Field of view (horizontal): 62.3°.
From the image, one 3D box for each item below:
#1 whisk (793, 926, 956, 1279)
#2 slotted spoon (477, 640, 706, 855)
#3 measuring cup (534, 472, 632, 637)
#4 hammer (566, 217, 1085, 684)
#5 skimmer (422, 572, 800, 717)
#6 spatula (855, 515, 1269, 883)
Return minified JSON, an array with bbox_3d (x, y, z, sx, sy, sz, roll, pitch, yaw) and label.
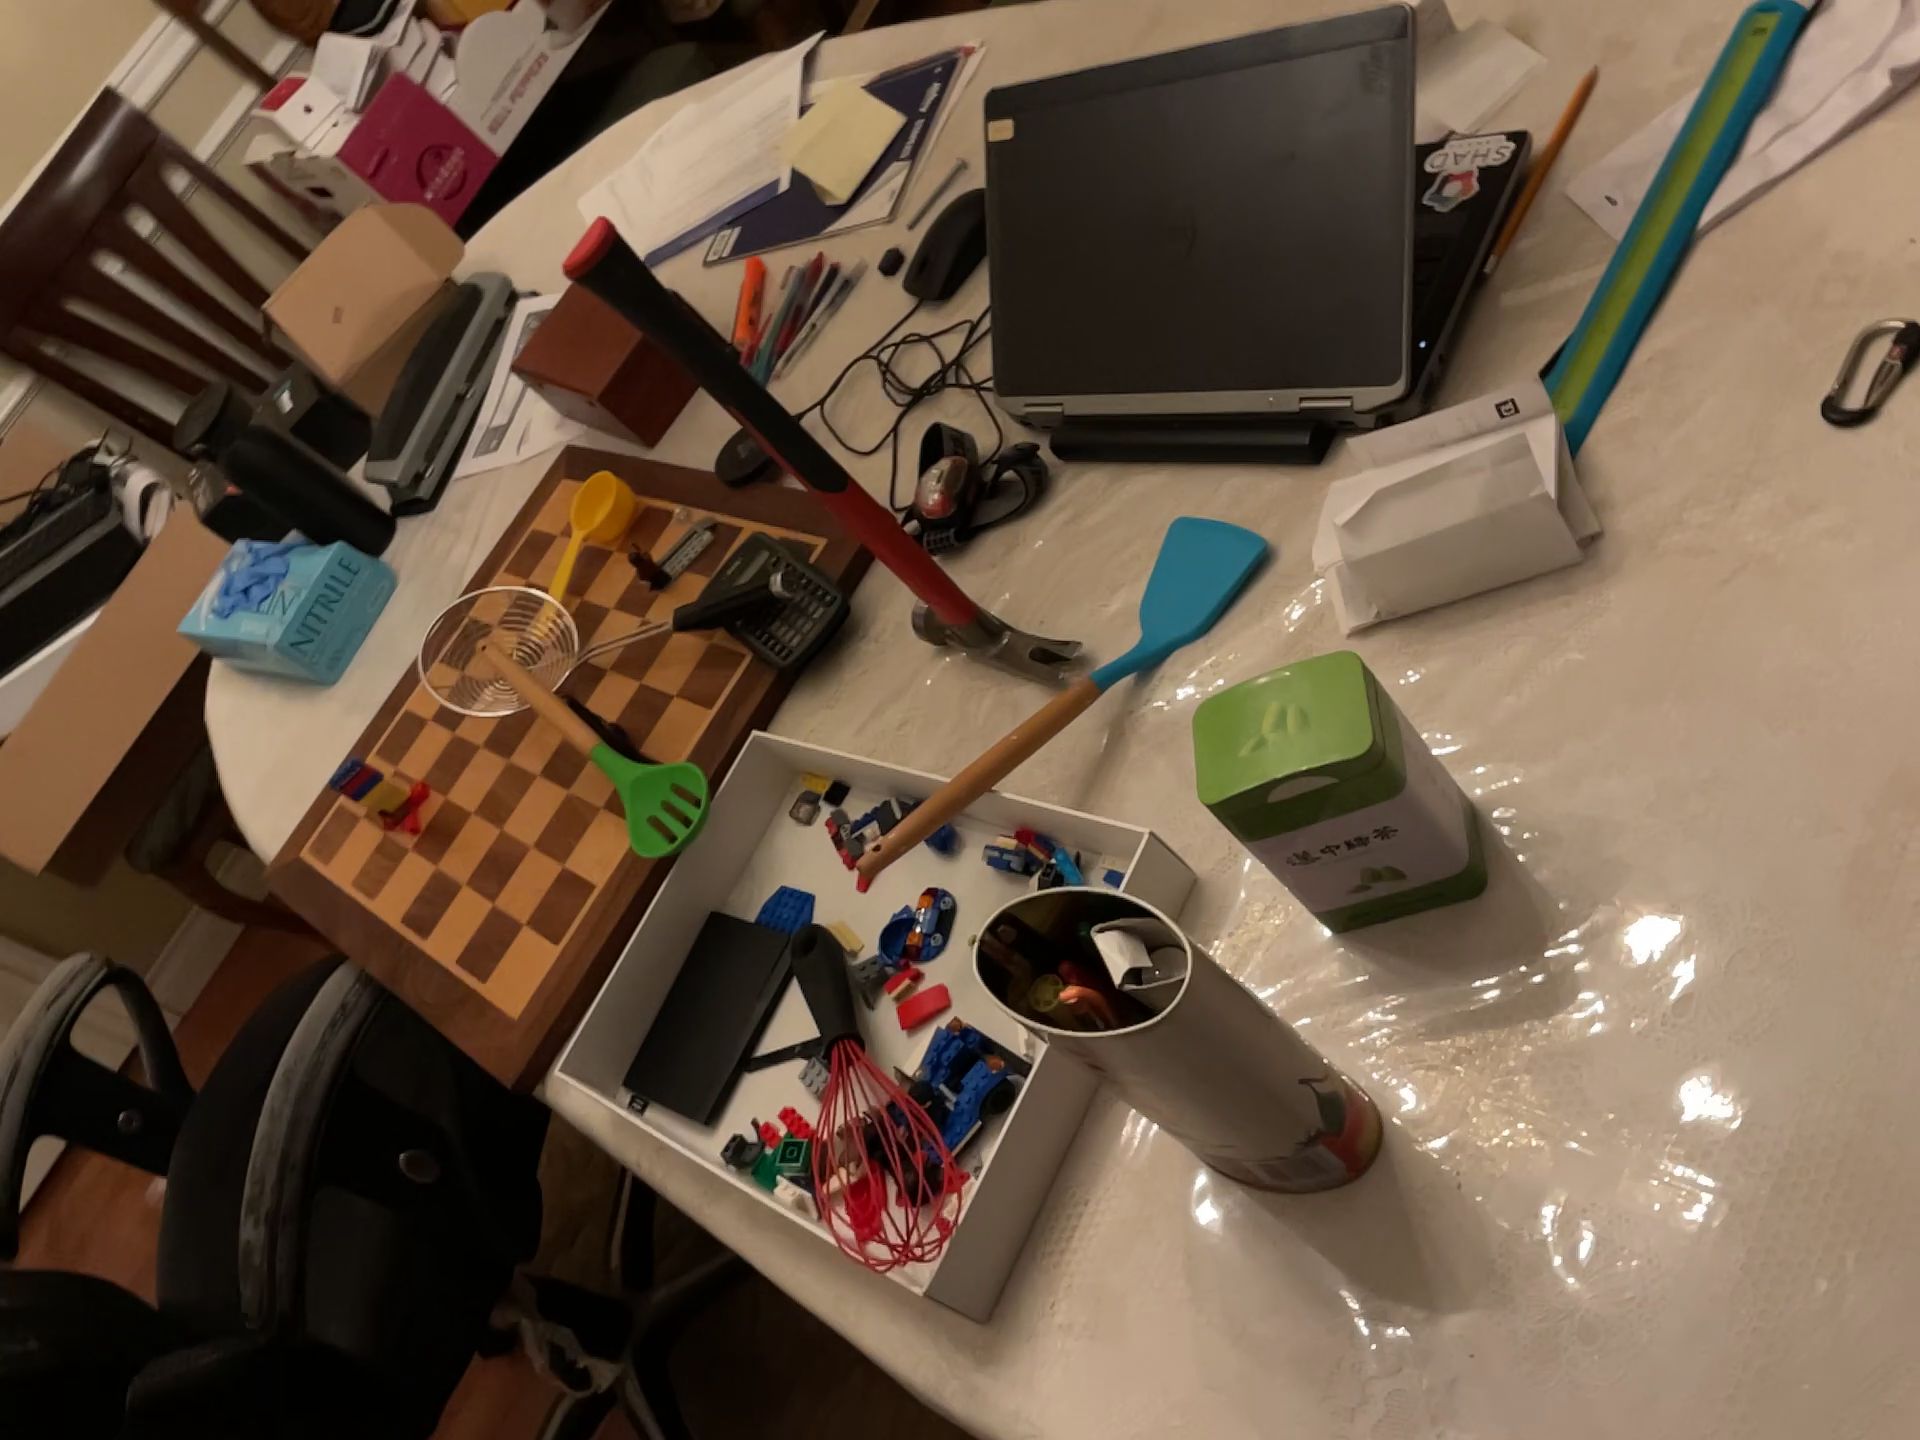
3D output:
[{"bbox_3d":[-0.059,0.196,0.880,0.073,0.073,0.296,-26,28,-2],"label":"whisk"},{"bbox_3d":[-0.271,0.010,1.140,0.314,0.031,0.070,34,86,40],"label":"slotted spoon"},{"bbox_3d":[-0.332,-0.141,1.393,0.062,0.029,0.156,18,85,43],"label":"measuring cup"},{"bbox_3d":[-0.074,-0.143,0.929,0.143,0.385,0.038,21,74,47],"label":"hammer"},{"bbox_3d":[-0.278,-0.078,1.234,0.364,0.090,0.127,-13,50,39],"label":"skimmer"},{"bbox_3d":[0.056,-0.013,0.935,0.317,0.044,0.083,-39,39,-22],"label":"spatula"}]
